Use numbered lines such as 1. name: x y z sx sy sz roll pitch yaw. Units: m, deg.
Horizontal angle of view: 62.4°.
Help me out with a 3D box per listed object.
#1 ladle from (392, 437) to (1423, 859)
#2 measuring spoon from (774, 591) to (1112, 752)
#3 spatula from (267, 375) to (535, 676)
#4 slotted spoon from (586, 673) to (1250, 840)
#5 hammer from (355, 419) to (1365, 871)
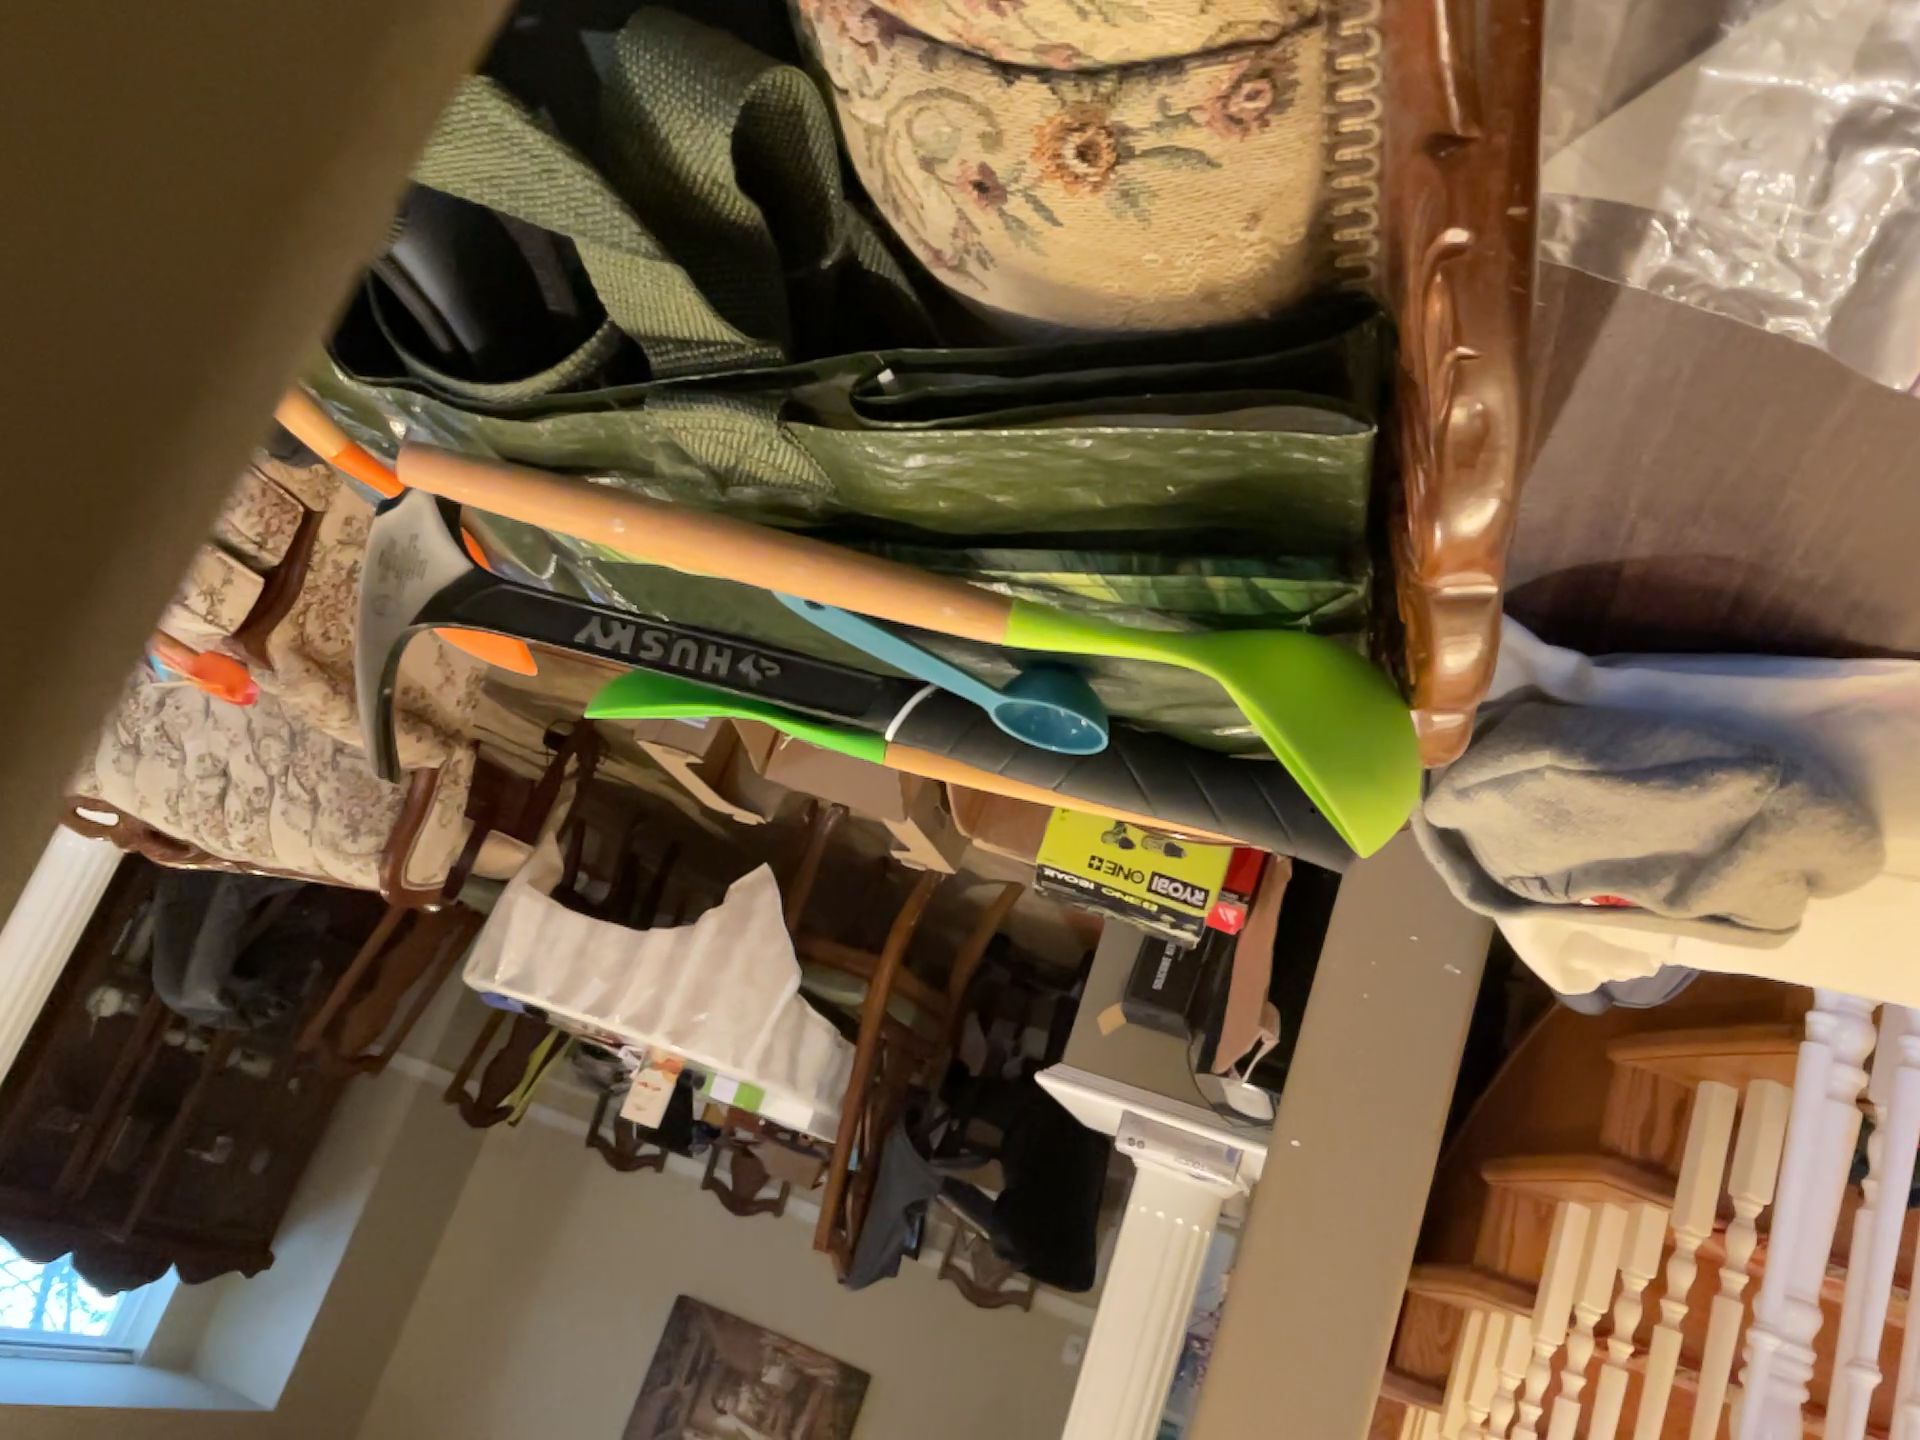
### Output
1. ladle: -0.014 -0.026 0.476 0.320 0.062 0.078 15 -173 -2
2. measuring spoon: -0.003 -0.024 0.533 0.128 0.021 0.042 26 159 -19
3. spatula: -0.283 -0.122 0.663 0.081 0.041 0.322 19 160 32
4. slotted spoon: -0.007 0.018 0.698 0.314 0.031 0.070 11 177 -1
5. hammer: -0.037 -0.004 0.625 0.409 0.149 0.036 14 171 -1
